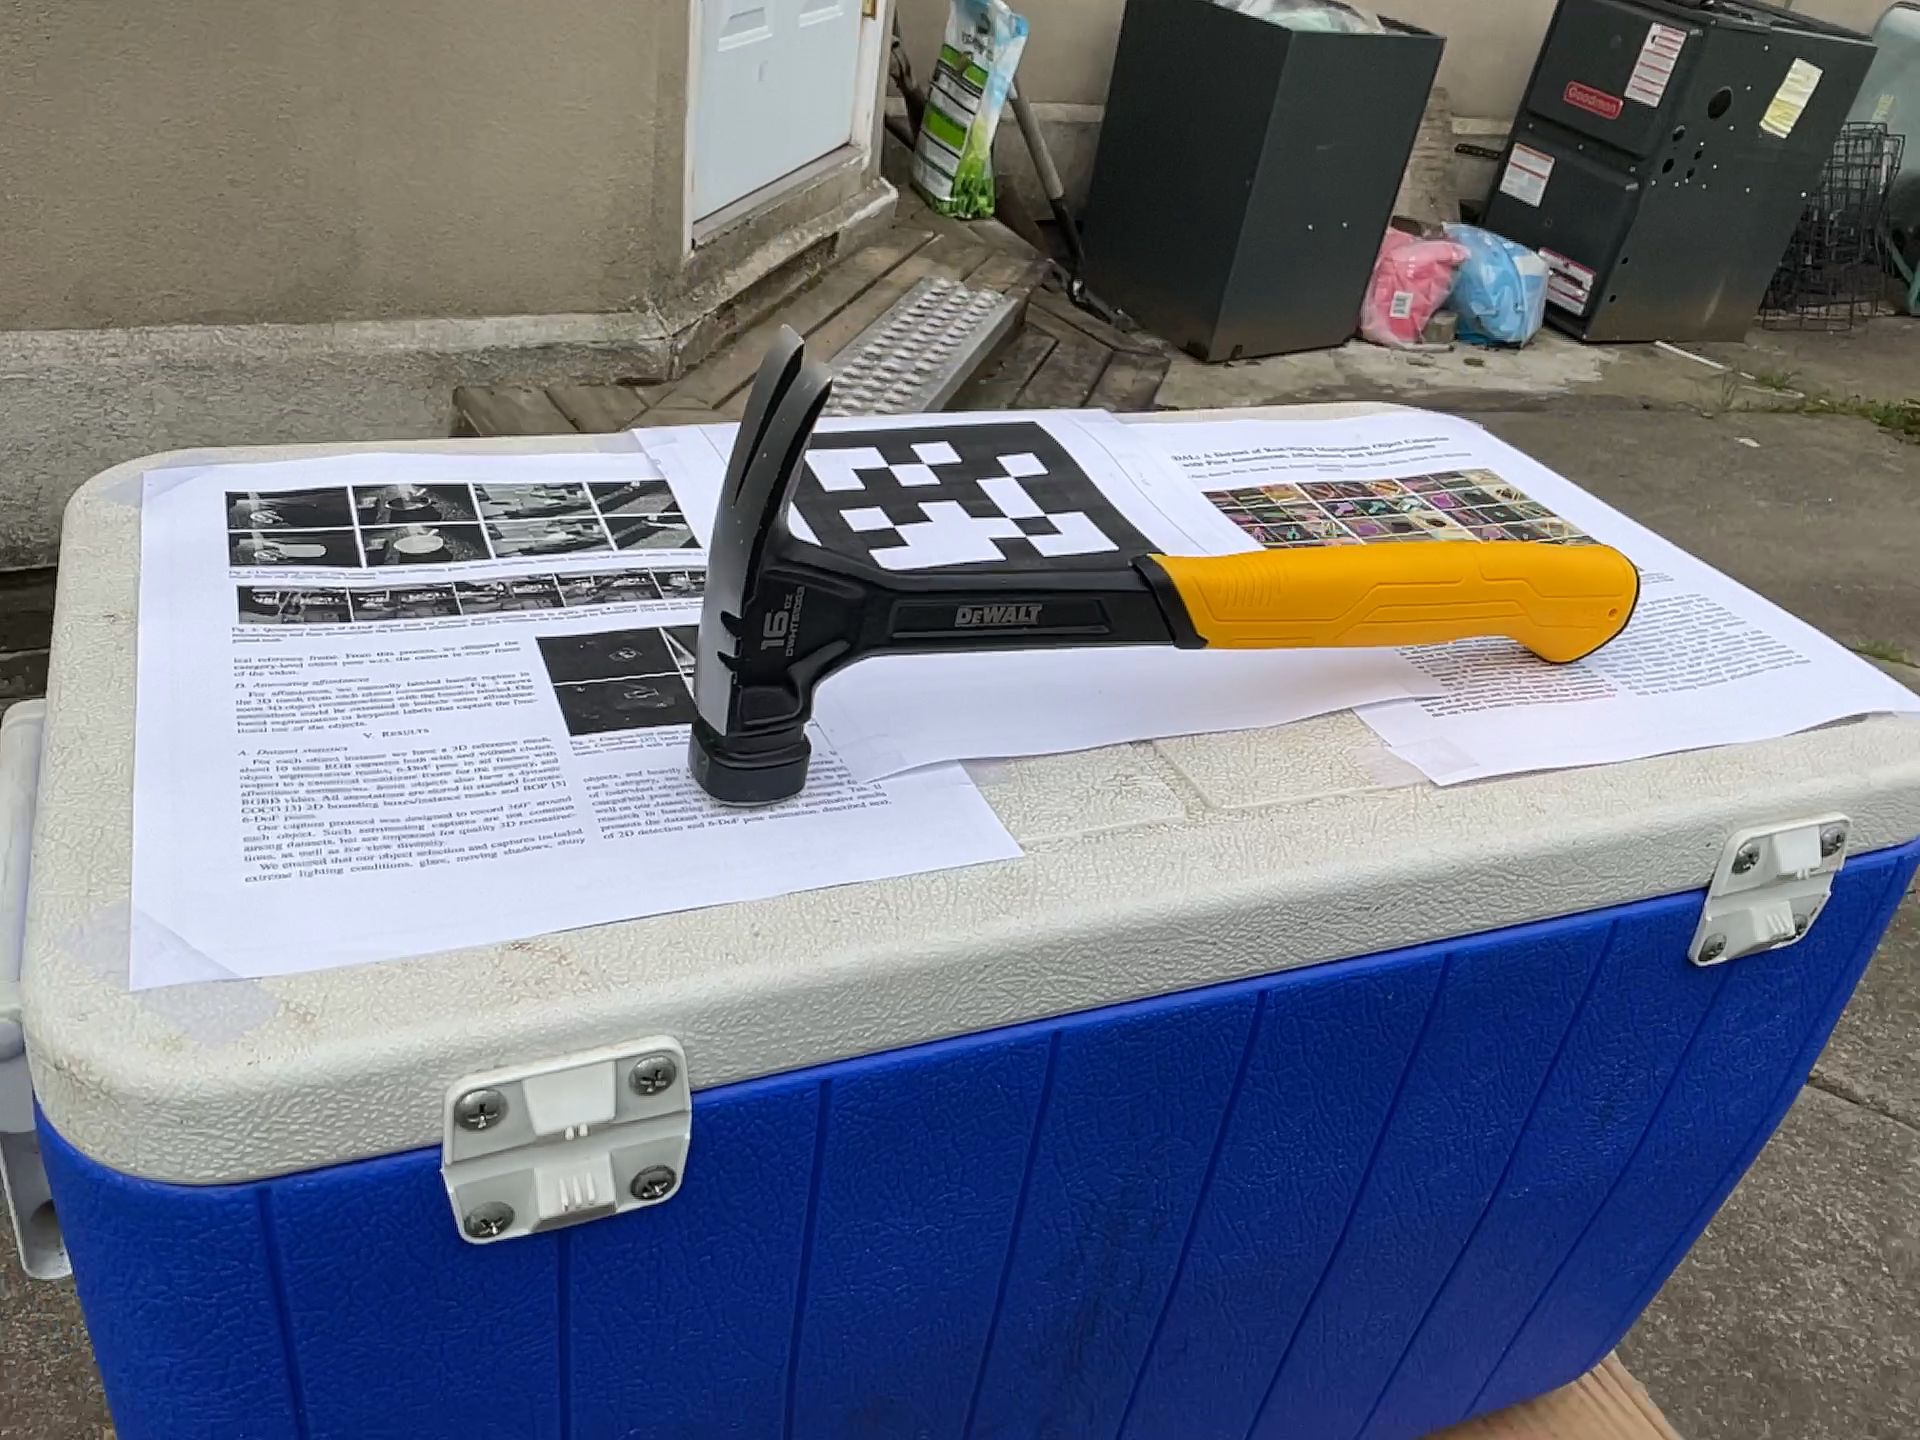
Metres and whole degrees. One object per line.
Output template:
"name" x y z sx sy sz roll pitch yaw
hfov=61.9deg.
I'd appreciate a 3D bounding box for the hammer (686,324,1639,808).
"hammer" 0.085 -0.043 0.490 0.336 0.127 0.034 -3 32 -28
